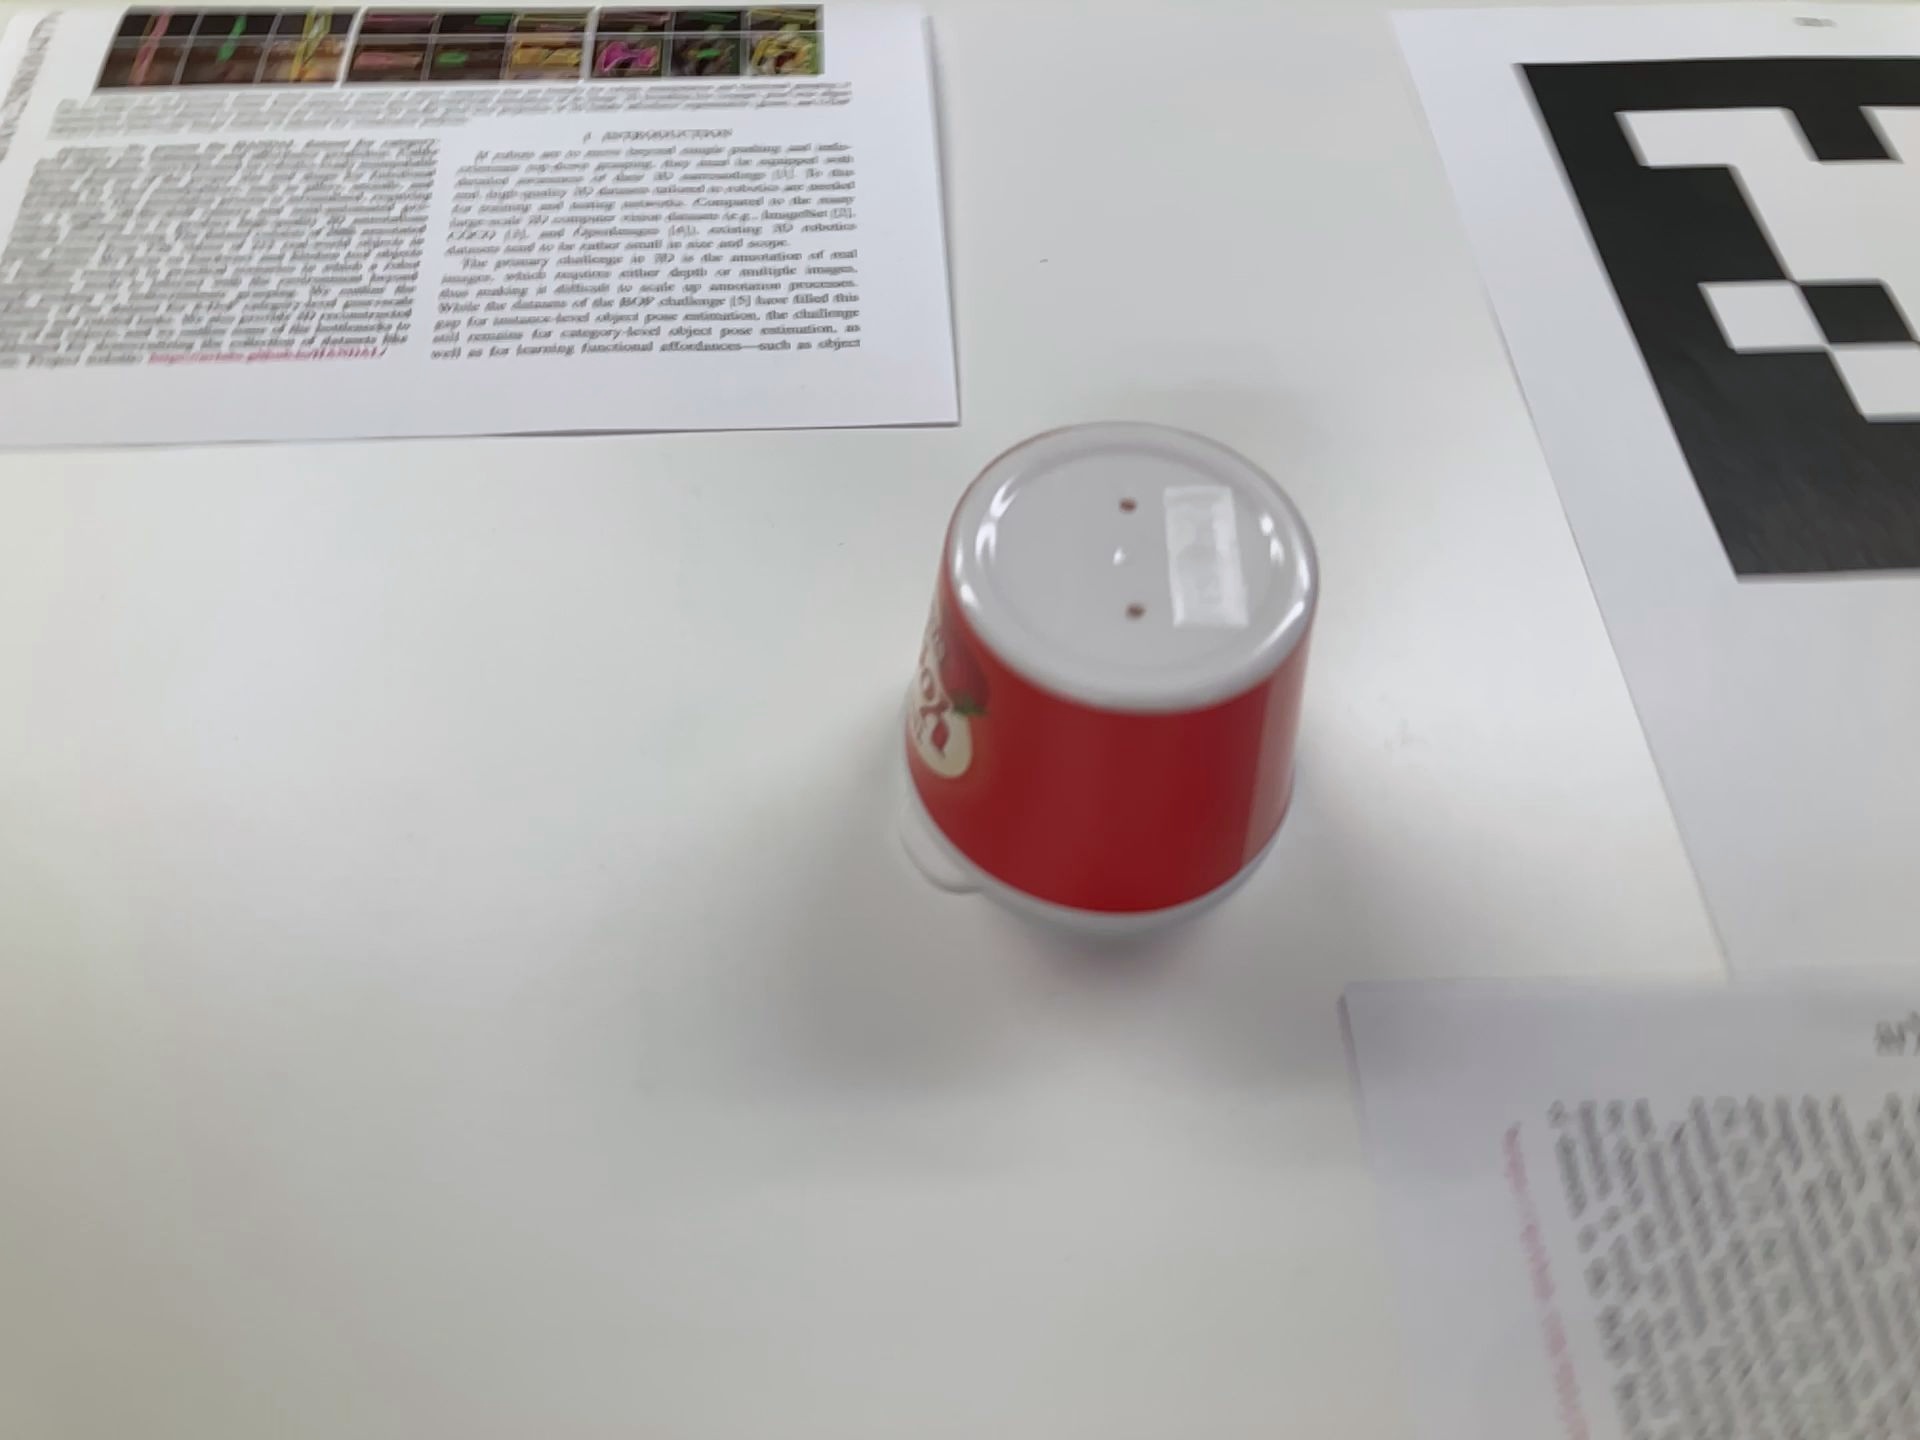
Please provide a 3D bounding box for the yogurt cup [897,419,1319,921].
[{"bbox_3d":[0.024,-0.010,0.251,0.072,0.054,0.072,1,55,-1],"label":"yogurt cup"}]
